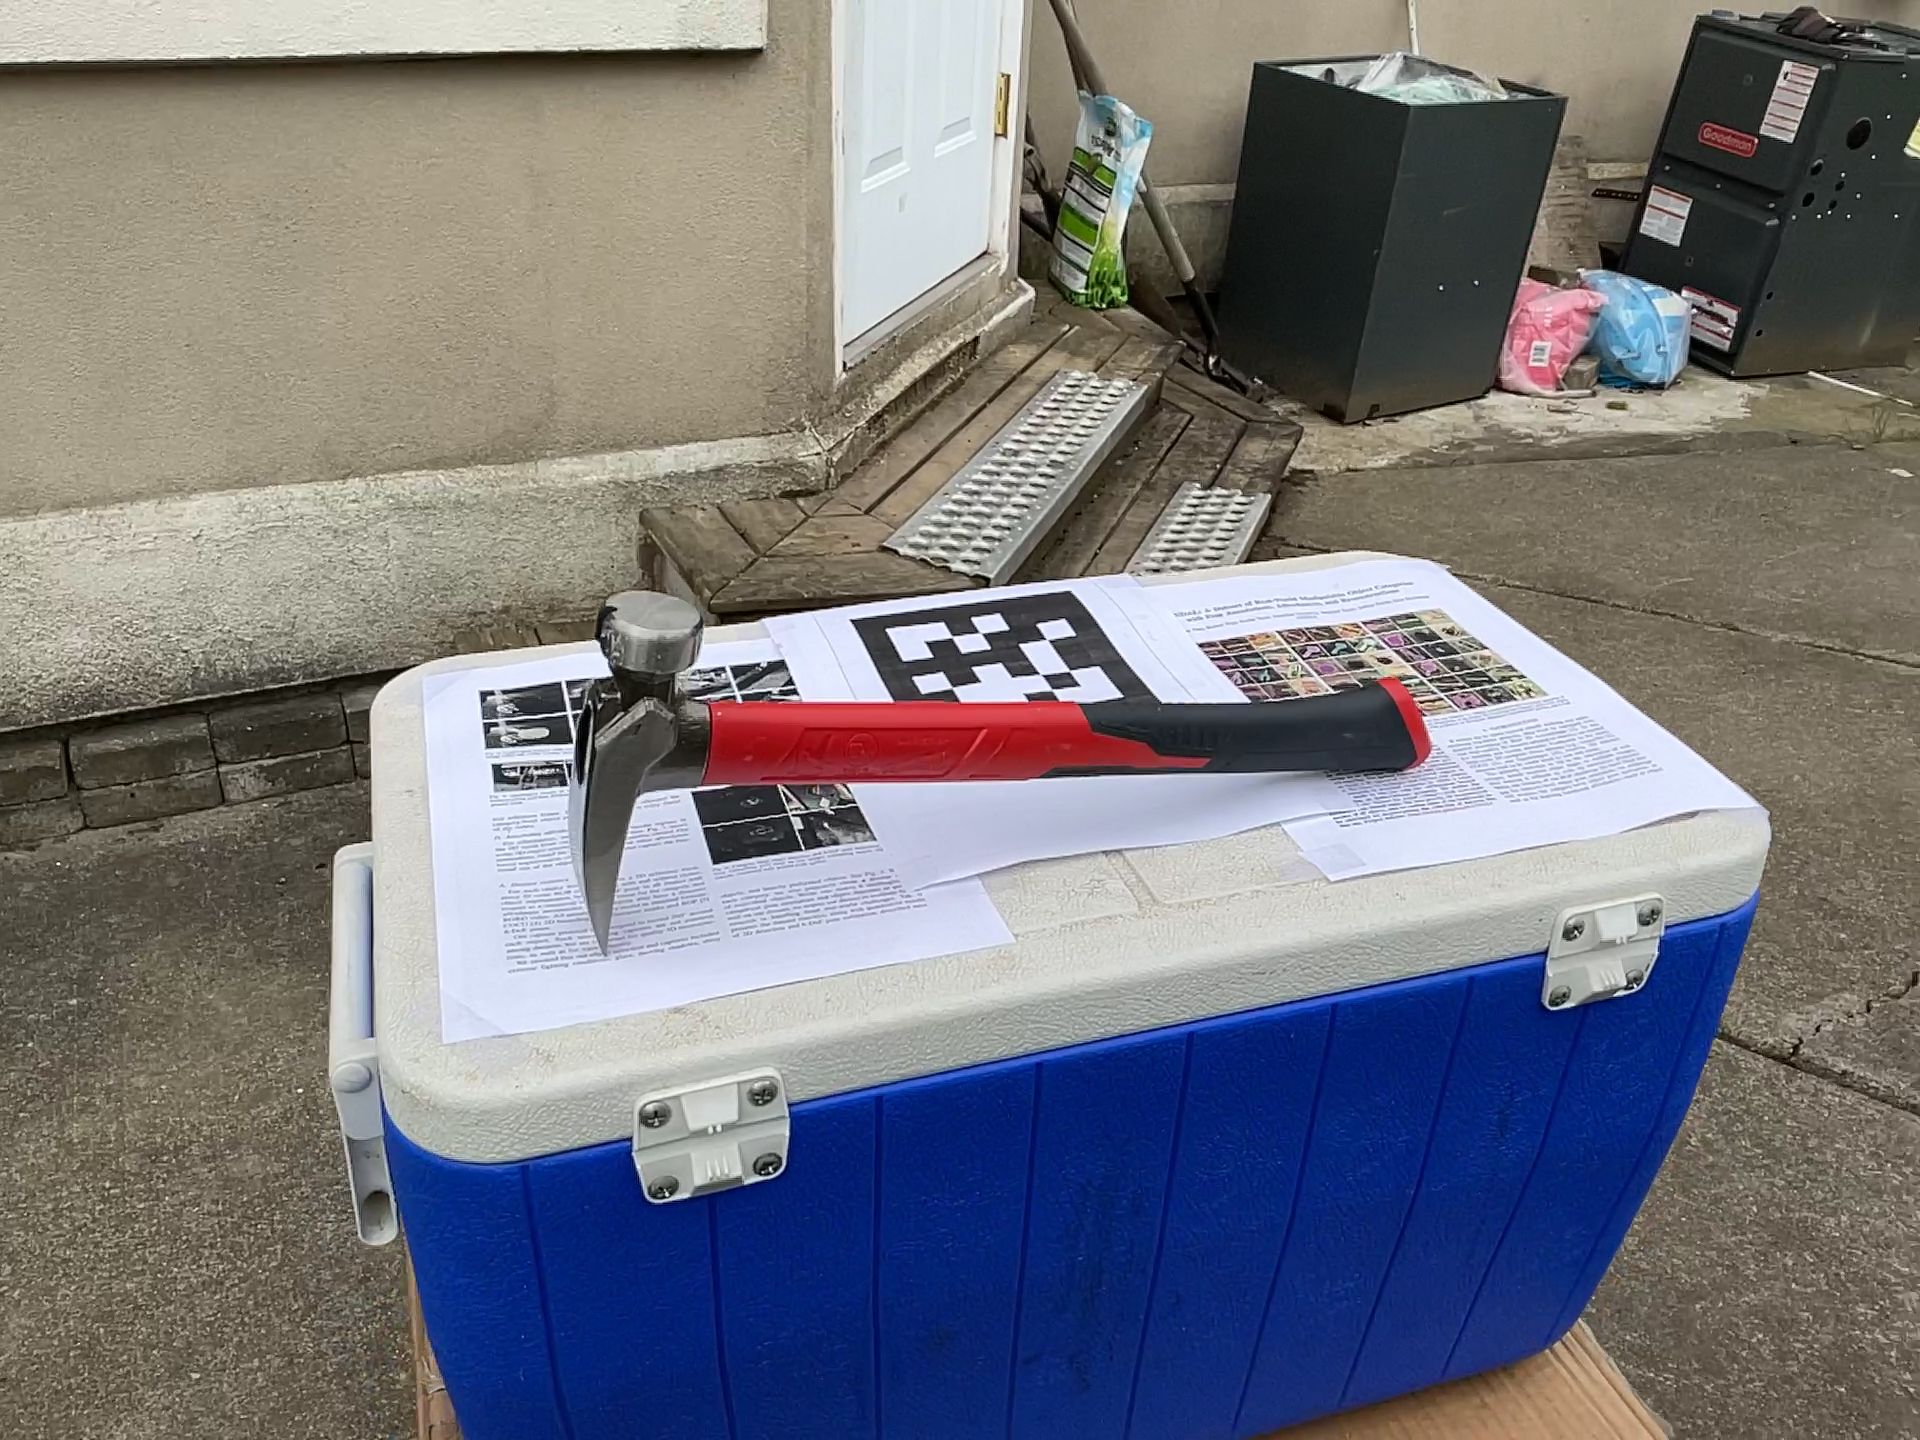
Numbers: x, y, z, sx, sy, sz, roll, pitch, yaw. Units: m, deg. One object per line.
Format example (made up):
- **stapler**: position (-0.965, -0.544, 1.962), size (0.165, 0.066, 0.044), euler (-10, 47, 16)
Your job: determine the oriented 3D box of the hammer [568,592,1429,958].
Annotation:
- **hammer**: position (0.033, 0.023, 0.674), size (0.386, 0.143, 0.038), euler (0, 29, -26)
